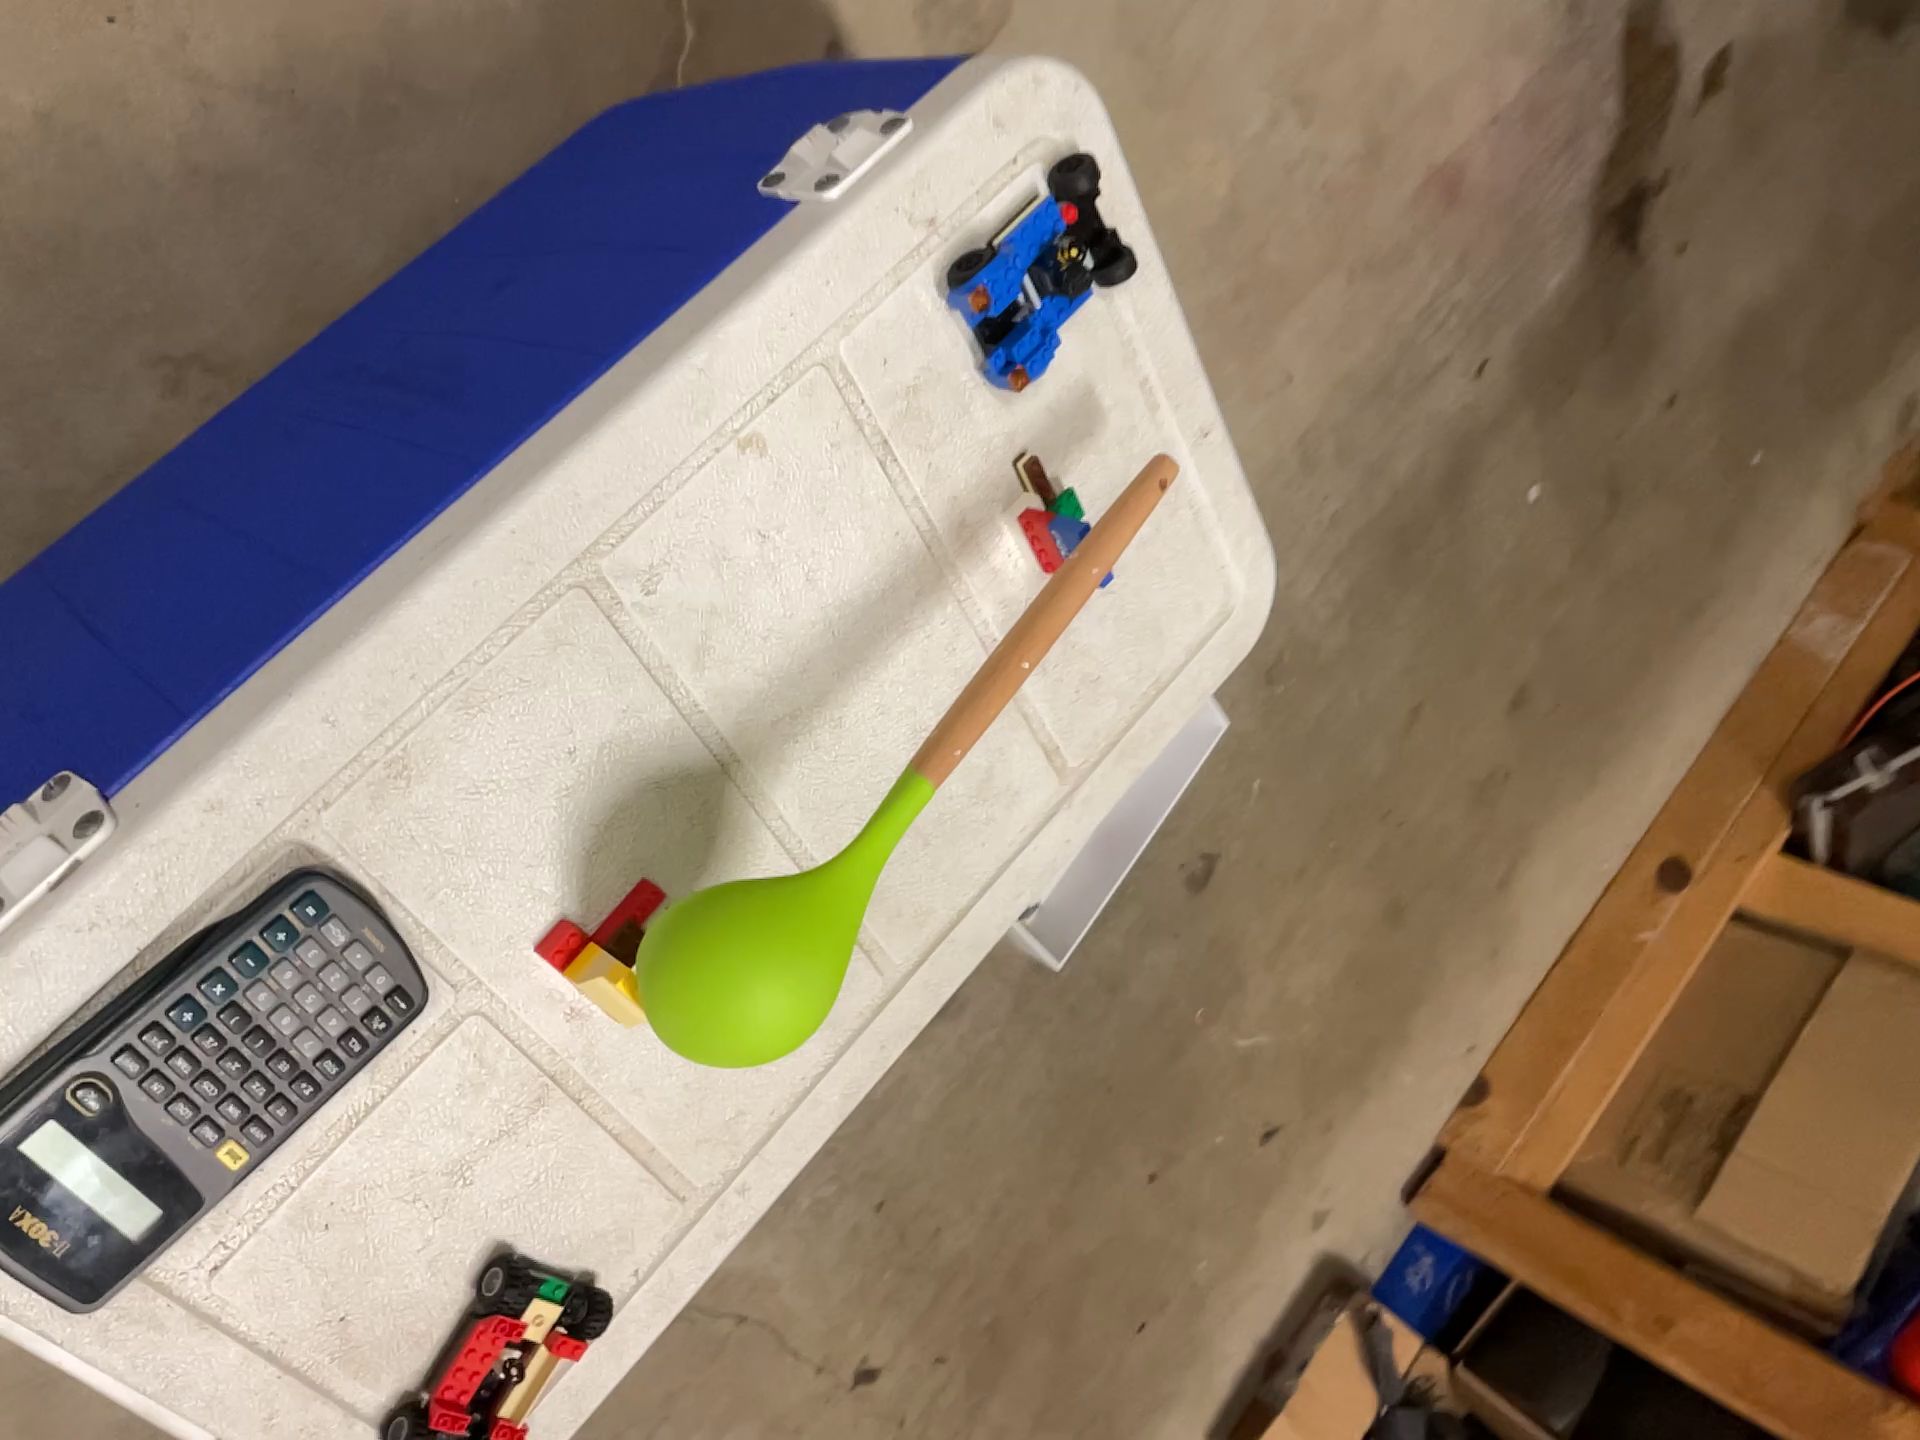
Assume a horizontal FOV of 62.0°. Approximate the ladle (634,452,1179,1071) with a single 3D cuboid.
[{"bbox_3d":[-0.009,0.003,0.634,0.320,0.062,0.078,-52,127,-23],"label":"ladle"}]
